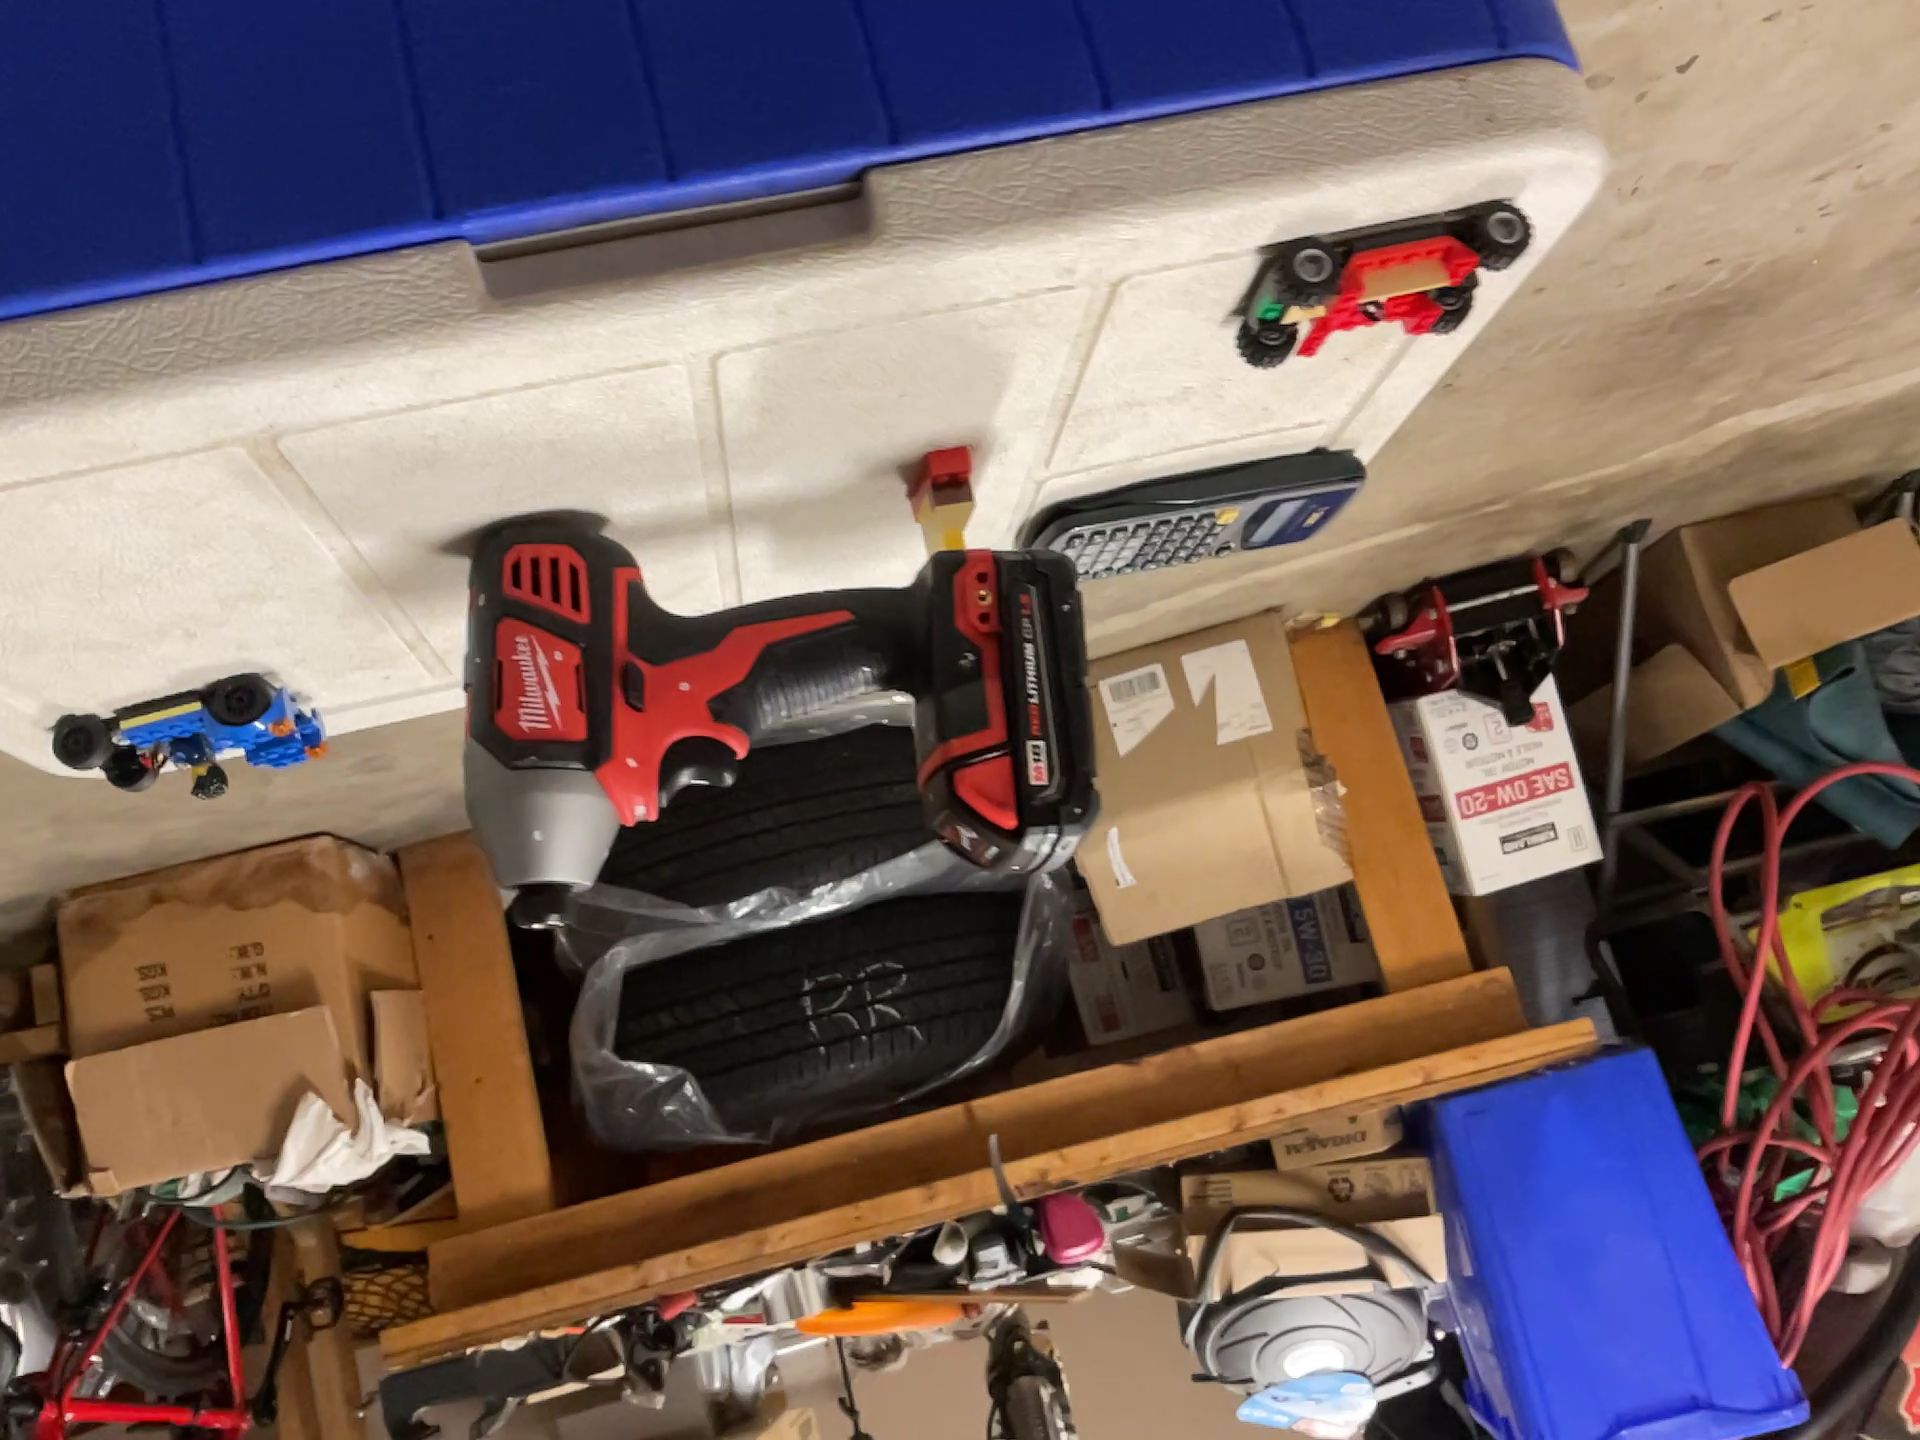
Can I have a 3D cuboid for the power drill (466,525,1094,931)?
[{"bbox_3d":[-0.068,0.004,0.586,0.219,0.143,0.078,1,165,-10],"label":"power drill"}]
